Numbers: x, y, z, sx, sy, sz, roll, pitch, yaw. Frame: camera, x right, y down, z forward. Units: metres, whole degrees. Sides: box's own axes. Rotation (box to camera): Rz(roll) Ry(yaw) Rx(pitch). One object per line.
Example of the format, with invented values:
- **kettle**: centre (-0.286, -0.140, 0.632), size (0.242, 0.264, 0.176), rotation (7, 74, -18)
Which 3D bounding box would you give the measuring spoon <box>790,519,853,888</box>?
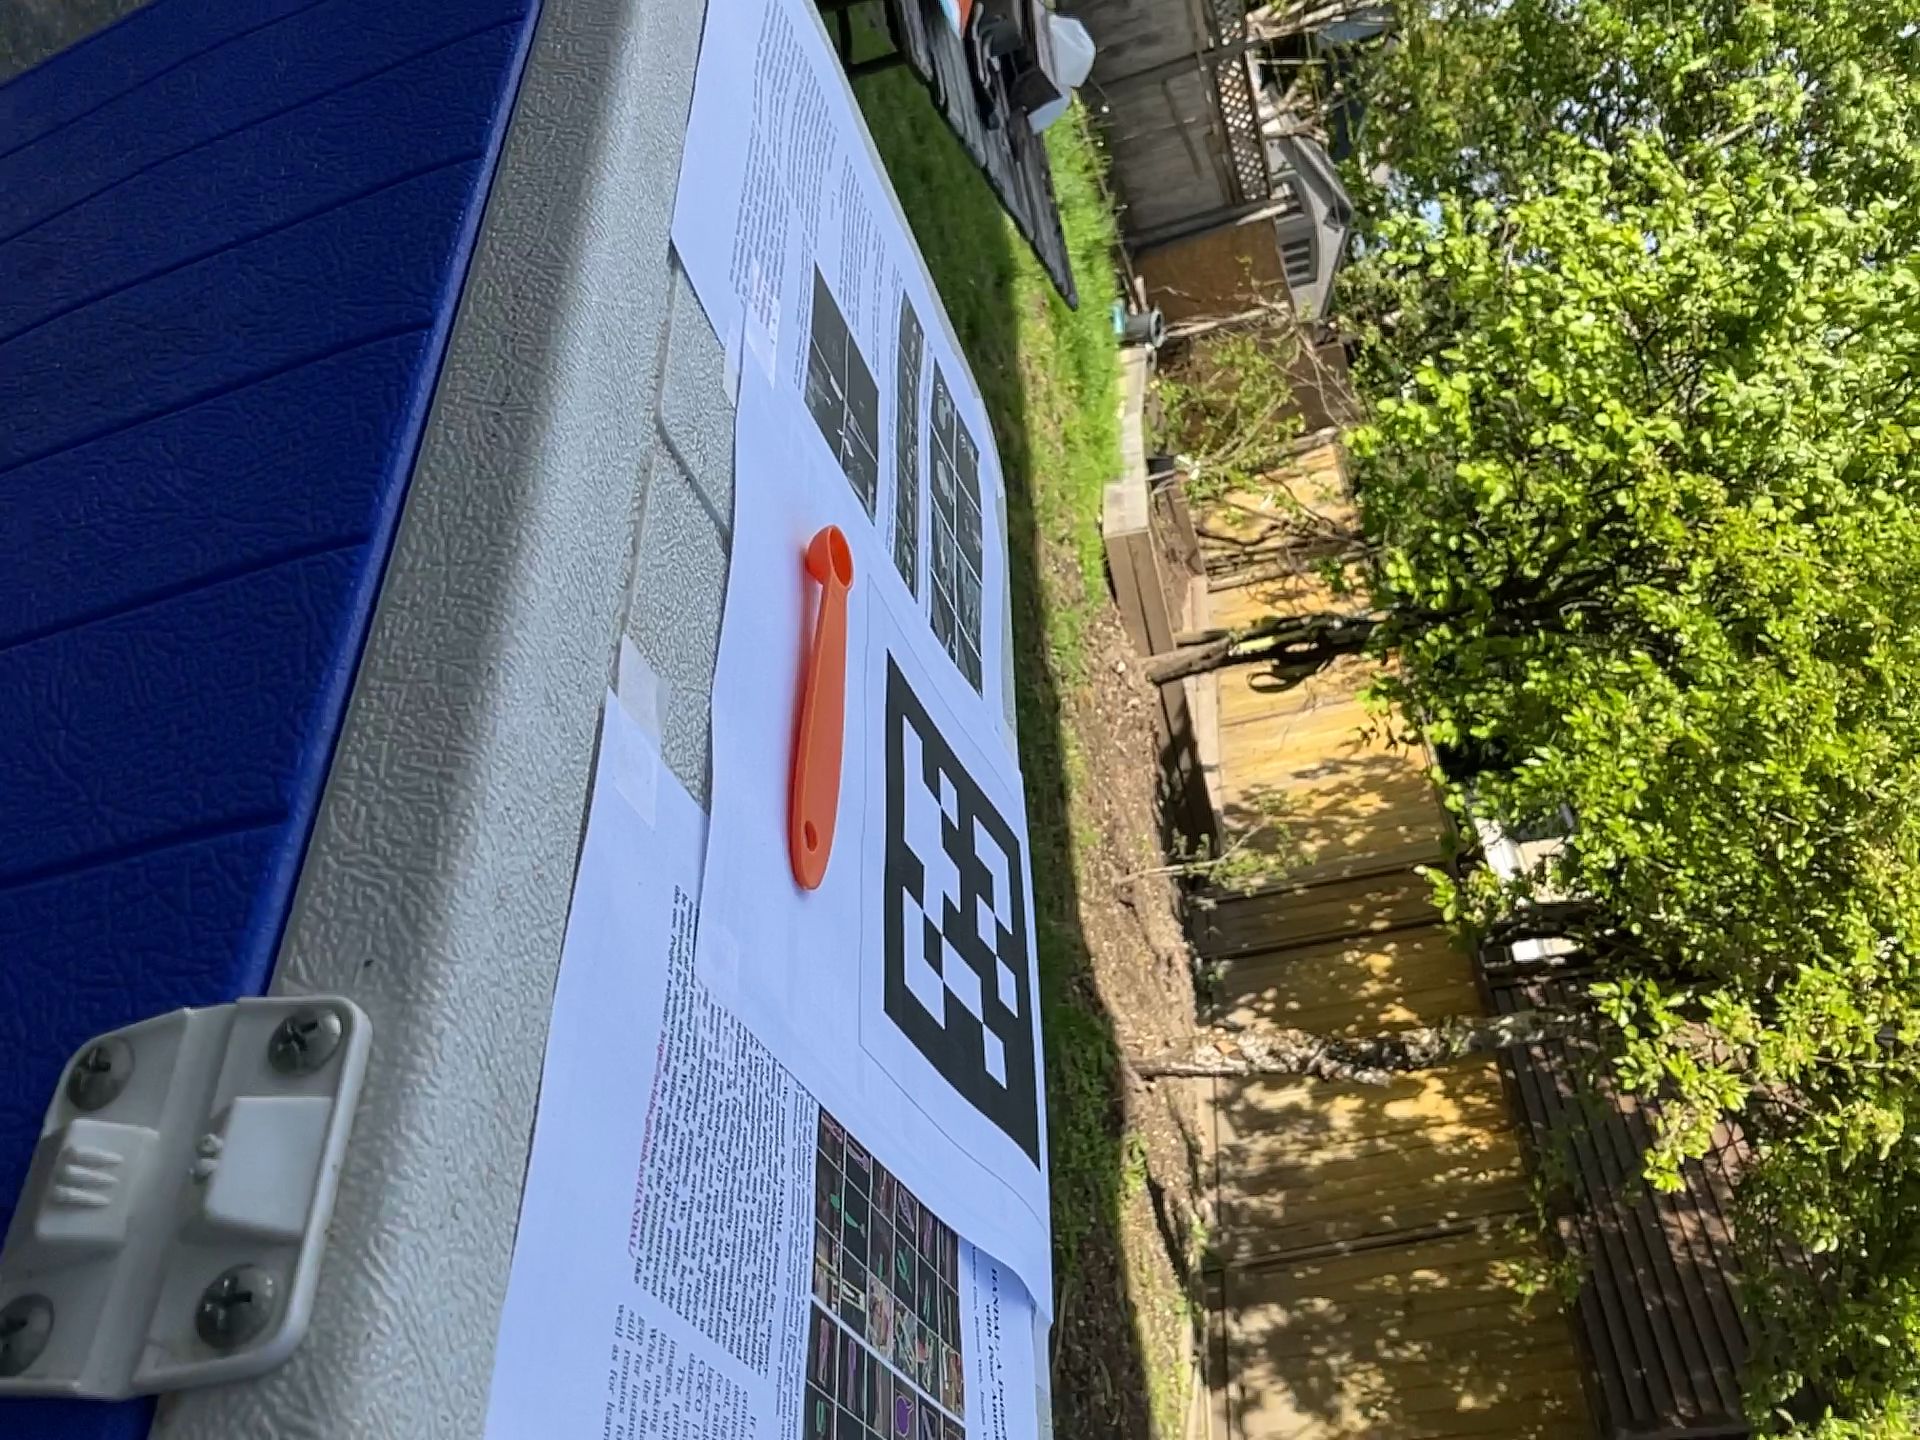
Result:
- **measuring spoon**: centre (-0.040, -0.007, 0.428), size (0.021, 0.011, 0.117), rotation (59, 26, -50)
